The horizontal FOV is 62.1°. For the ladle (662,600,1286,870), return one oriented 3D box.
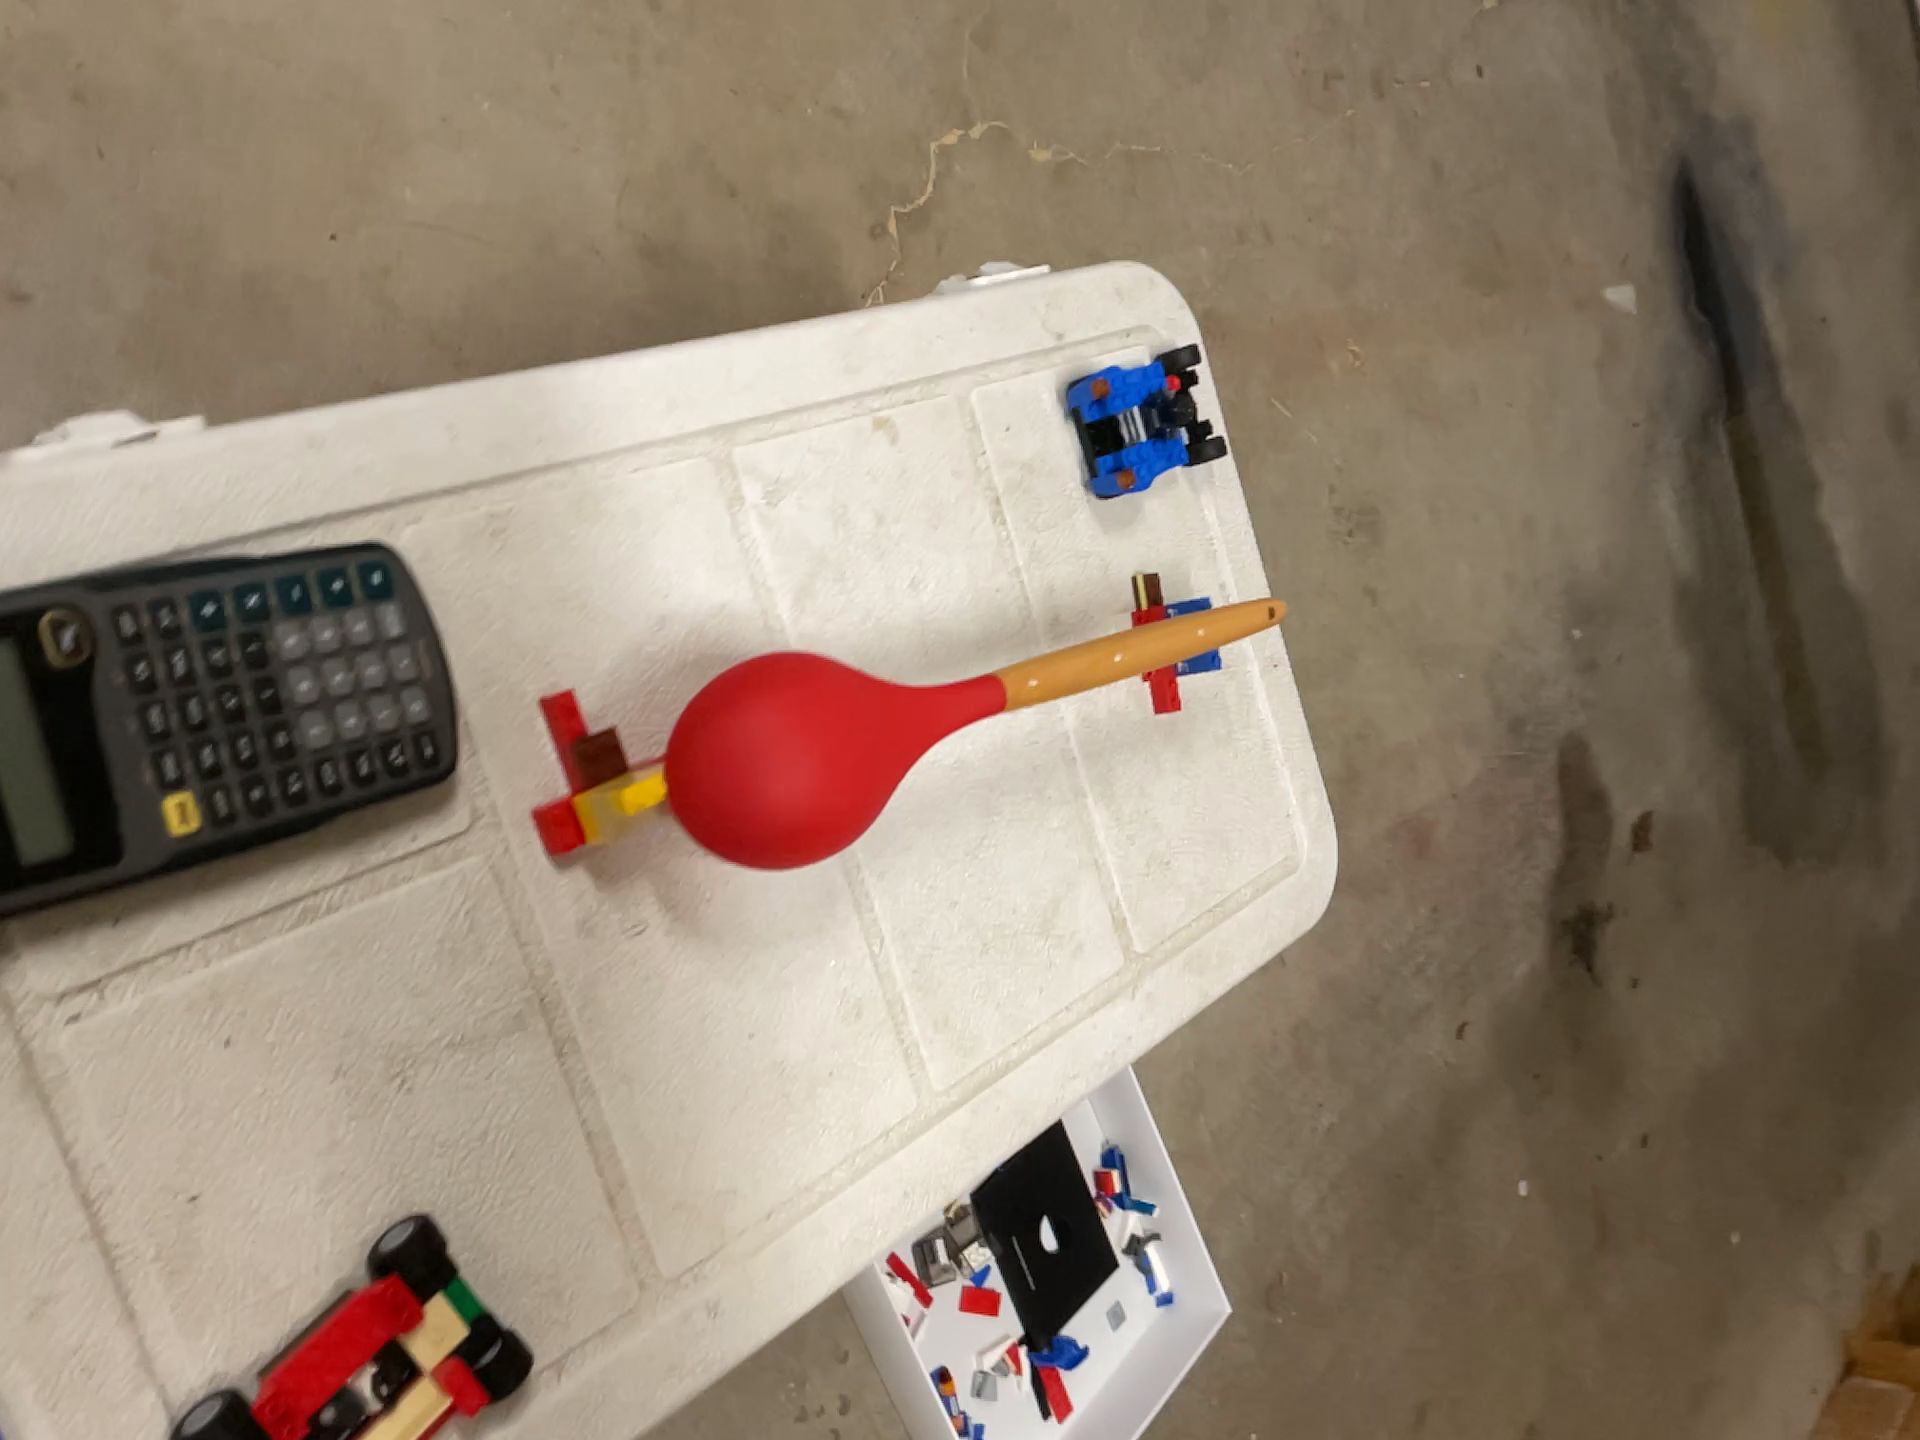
[{"bbox_3d":[0.029,-0.013,0.588,0.315,0.031,0.069,-17,95,-44],"label":"ladle"}]
